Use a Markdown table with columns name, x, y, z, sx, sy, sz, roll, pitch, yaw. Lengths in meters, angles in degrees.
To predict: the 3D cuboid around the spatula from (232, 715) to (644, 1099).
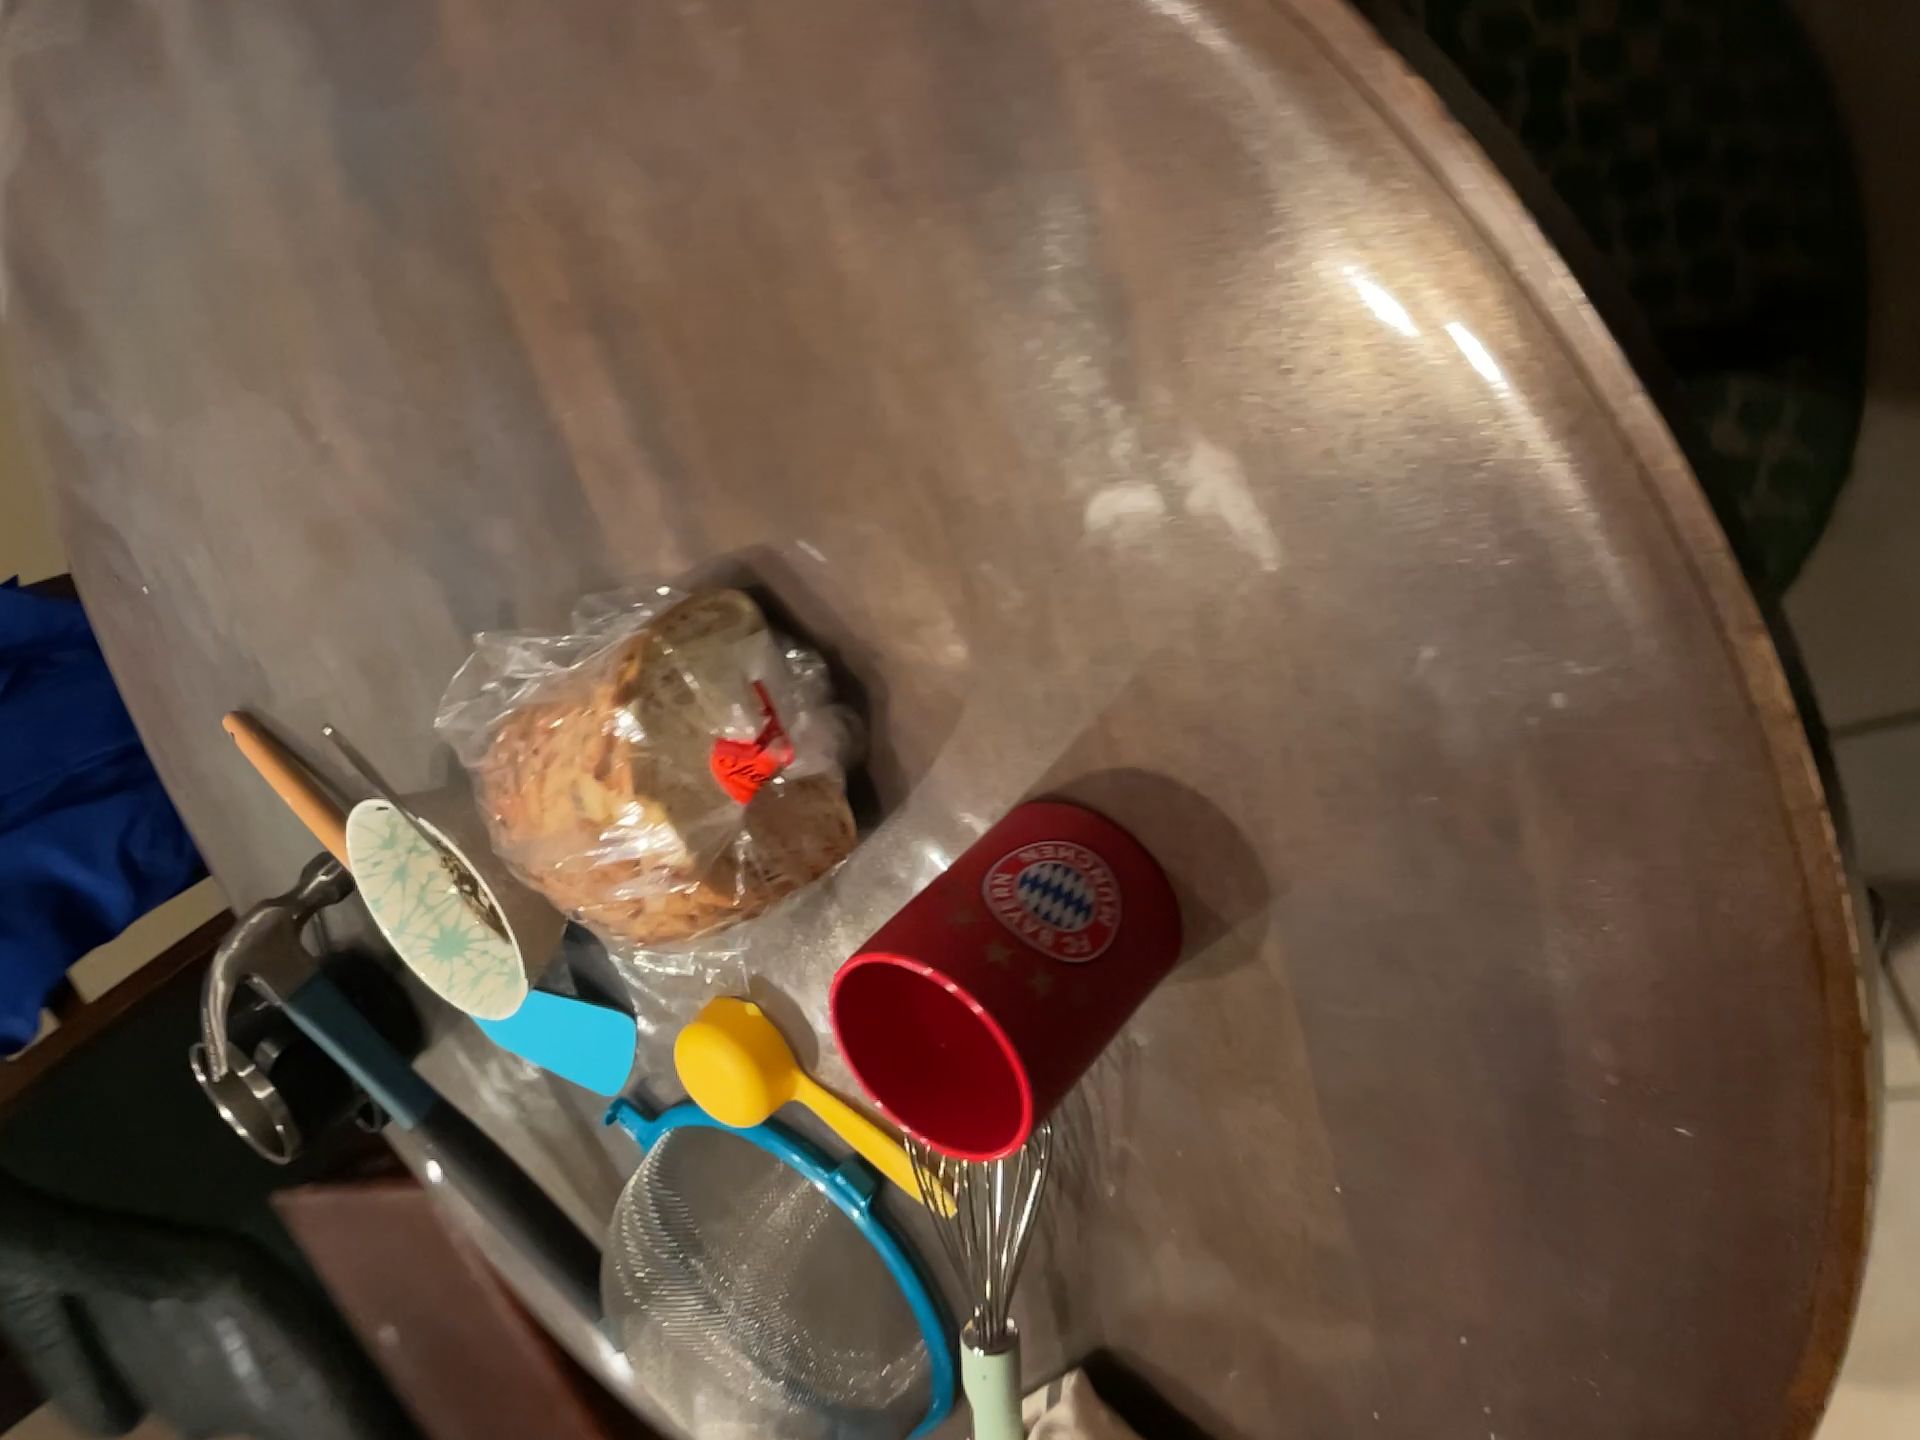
| name | x | y | z | sx | sy | sz | roll | pitch | yaw |
| --- | --- | --- | --- | --- | --- | --- | --- | --- | --- |
| spatula | -0.297 | 0.094 | 0.882 | 0.317 | 0.044 | 0.082 | 40 | 138 | 19 |

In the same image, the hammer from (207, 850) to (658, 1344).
| name | x | y | z | sx | sy | sz | roll | pitch | yaw |
| --- | --- | --- | --- | --- | --- | --- | --- | --- | --- |
| hammer | -0.297 | 0.234 | 0.929 | 0.331 | 0.128 | 0.033 | 47 | 141 | -8 |

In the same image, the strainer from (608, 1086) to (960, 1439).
| name | x | y | z | sx | sy | sz | roll | pitch | yaw |
| --- | --- | --- | --- | --- | --- | --- | --- | --- | --- |
| strainer | -0.093 | 0.361 | 0.828 | 0.211 | 0.095 | 0.340 | 2 | 114 | 42 |

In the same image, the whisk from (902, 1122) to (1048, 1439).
| name | x | y | z | sx | sy | sz | roll | pitch | yaw |
| --- | --- | --- | --- | --- | --- | --- | --- | --- | --- |
| whisk | 0.012 | 0.252 | 0.673 | 0.059 | 0.058 | 0.246 | -1 | 111 | 8 |

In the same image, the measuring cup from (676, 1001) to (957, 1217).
| name | x | y | z | sx | sy | sz | roll | pitch | yaw |
| --- | --- | --- | --- | --- | --- | --- | --- | --- | --- |
| measuring cup | -0.070 | 0.187 | 0.734 | 0.156 | 0.029 | 0.062 | 31 | 134 | 24 |
